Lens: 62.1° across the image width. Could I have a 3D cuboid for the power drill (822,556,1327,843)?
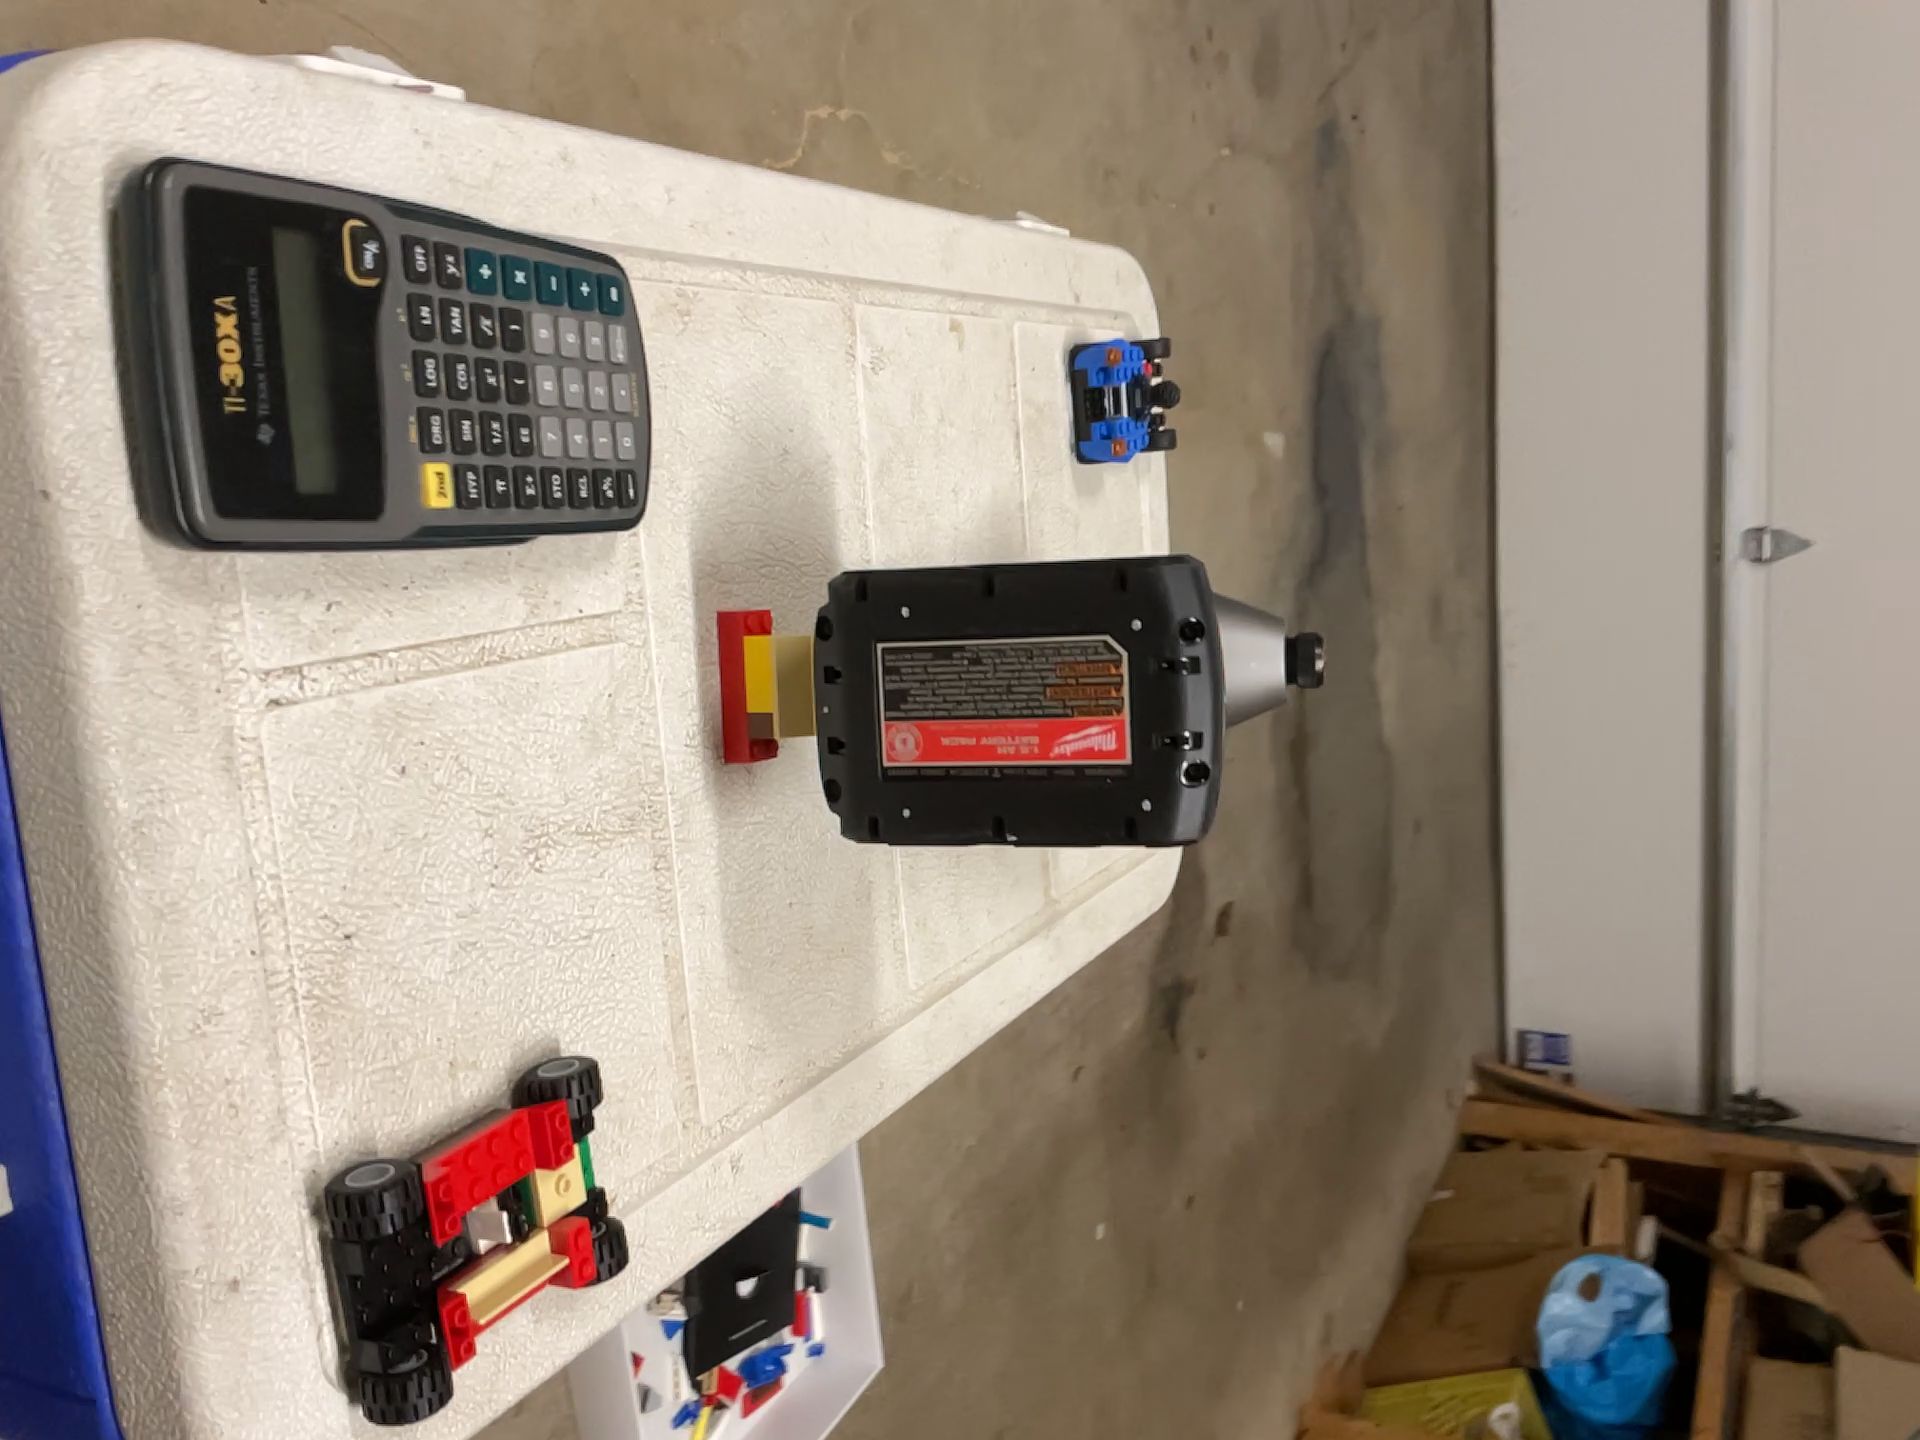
[{"bbox_3d":[0.048,-0.014,0.543,0.220,0.143,0.078,-19,108,-74],"label":"power drill"}]
